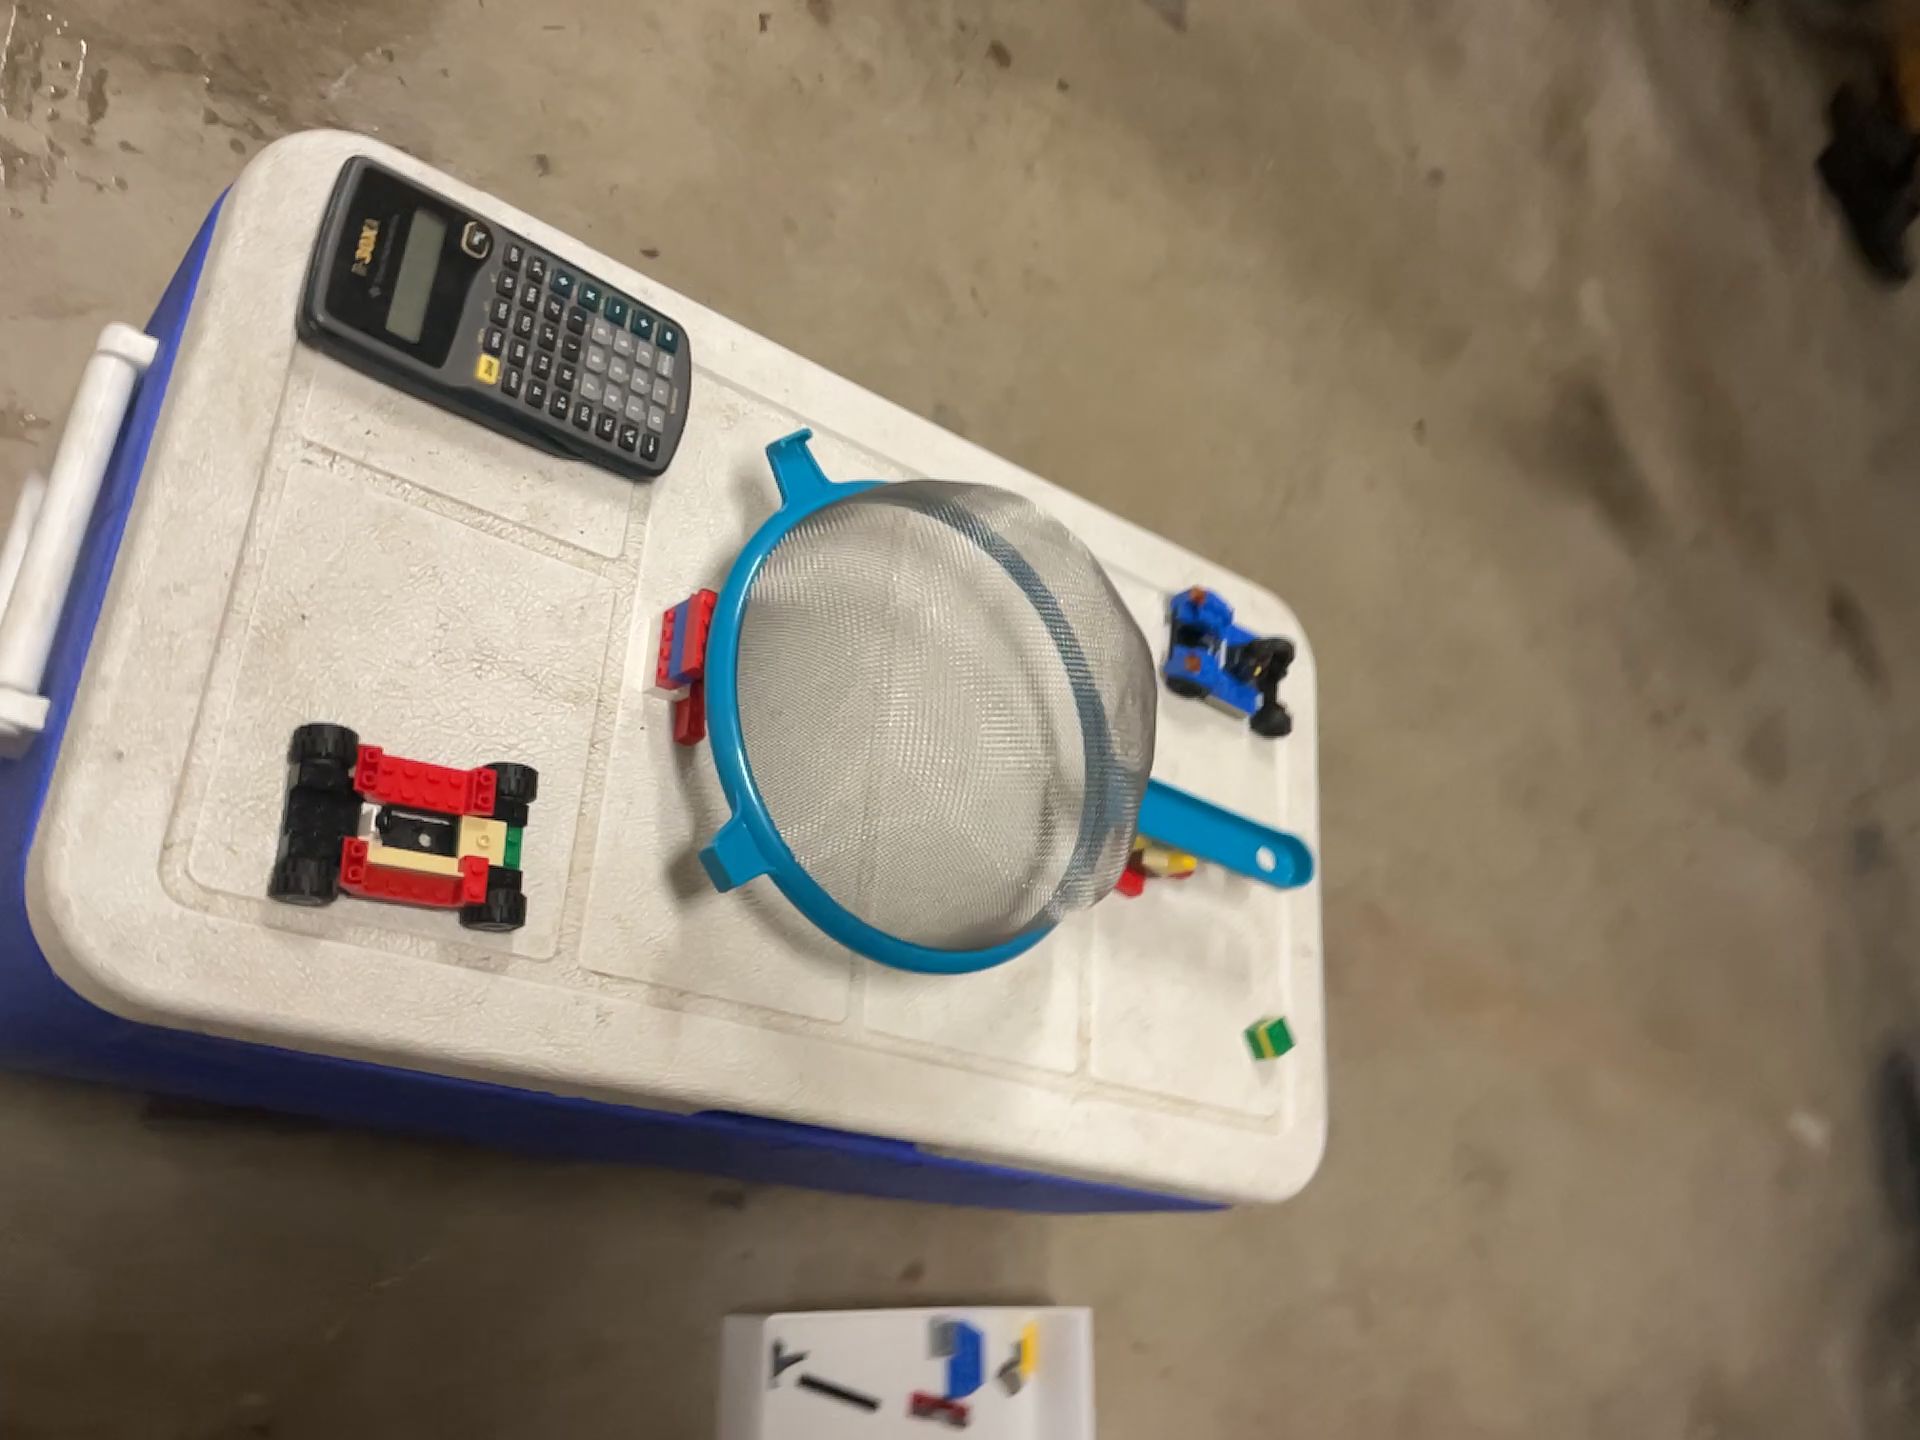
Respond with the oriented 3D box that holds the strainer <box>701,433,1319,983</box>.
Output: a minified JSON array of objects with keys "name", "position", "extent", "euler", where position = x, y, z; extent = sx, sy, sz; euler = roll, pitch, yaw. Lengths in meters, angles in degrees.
[{"name":"strainer","position":[0.062,0.013,0.667],"extent":[0.340,0.095,0.211],"euler":[22,62,-33]}]
